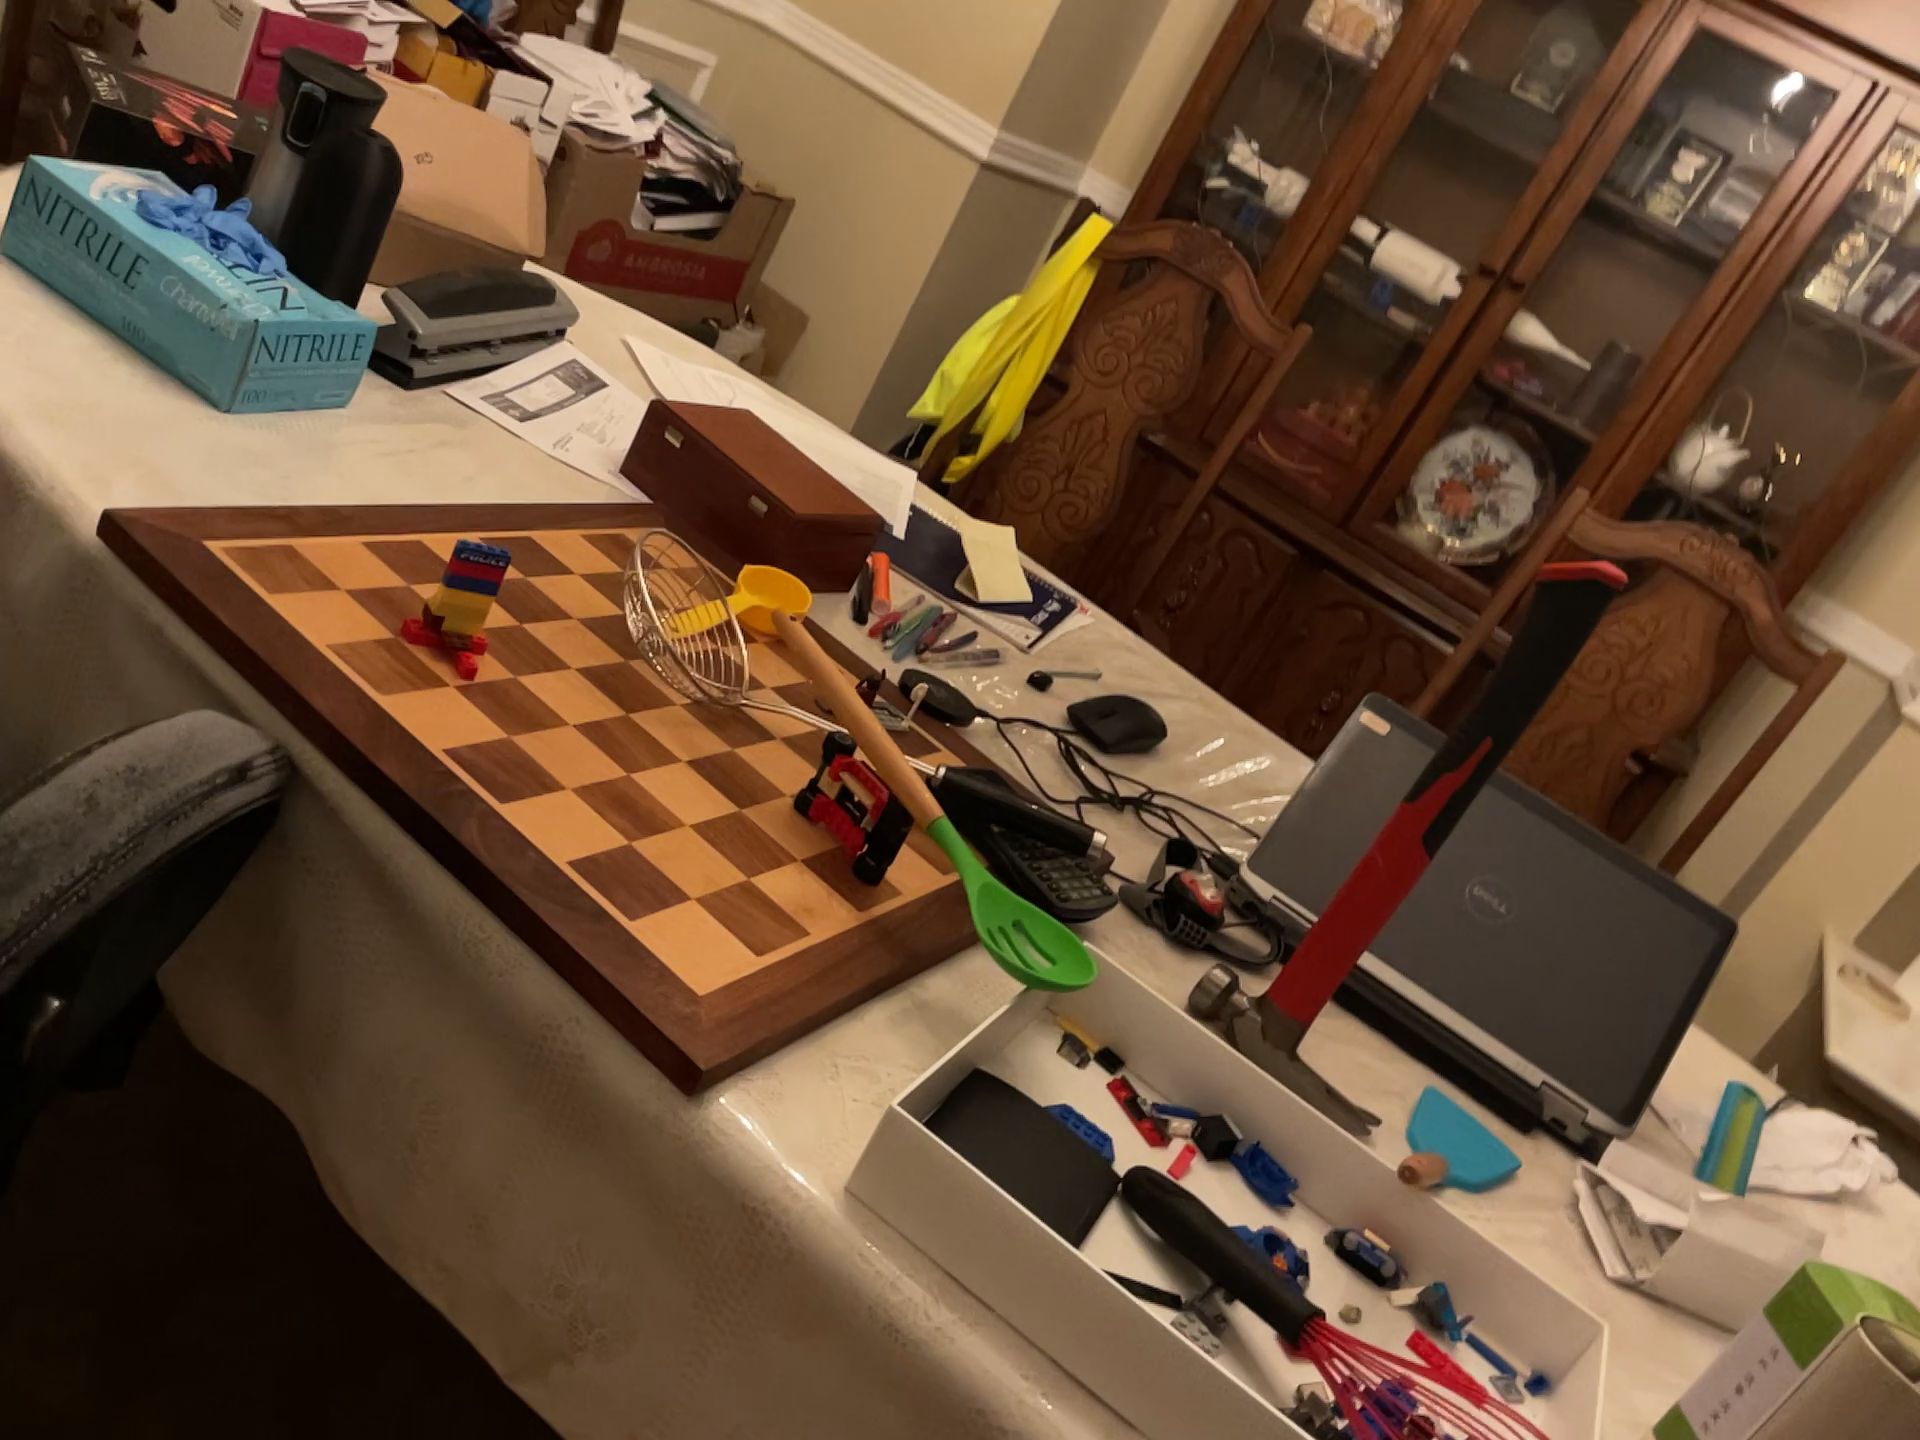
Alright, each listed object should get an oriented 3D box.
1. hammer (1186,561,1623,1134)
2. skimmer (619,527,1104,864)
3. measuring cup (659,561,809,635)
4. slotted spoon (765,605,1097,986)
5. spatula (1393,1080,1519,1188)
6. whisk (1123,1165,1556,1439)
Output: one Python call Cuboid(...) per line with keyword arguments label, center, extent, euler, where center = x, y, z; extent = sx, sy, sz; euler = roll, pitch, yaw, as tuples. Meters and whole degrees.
Cuboid(label="hammer", center=(0.294, 0.076, 0.981), extent=(0.143, 0.386, 0.038), euler=(38, 23, 22))
Cuboid(label="skimmer", center=(-0.060, -0.012, 1.057), extent=(0.363, 0.090, 0.127), euler=(25, 20, -1))
Cuboid(label="measuring cup", center=(-0.174, -0.079, 1.179), extent=(0.062, 0.029, 0.156), euler=(40, 36, 17))
Cuboid(label="slotted spoon", center=(-0.029, 0.041, 0.944), extent=(0.070, 0.031, 0.314), euler=(-4, 48, -51))
Cuboid(label="spatula", center=(0.289, 0.259, 0.961), extent=(0.082, 0.044, 0.317), euler=(41, 4, 24))
Cuboid(label="whisk", center=(0.177, 0.299, 0.748), extent=(0.073, 0.073, 0.296), euler=(34, -1, -43))
